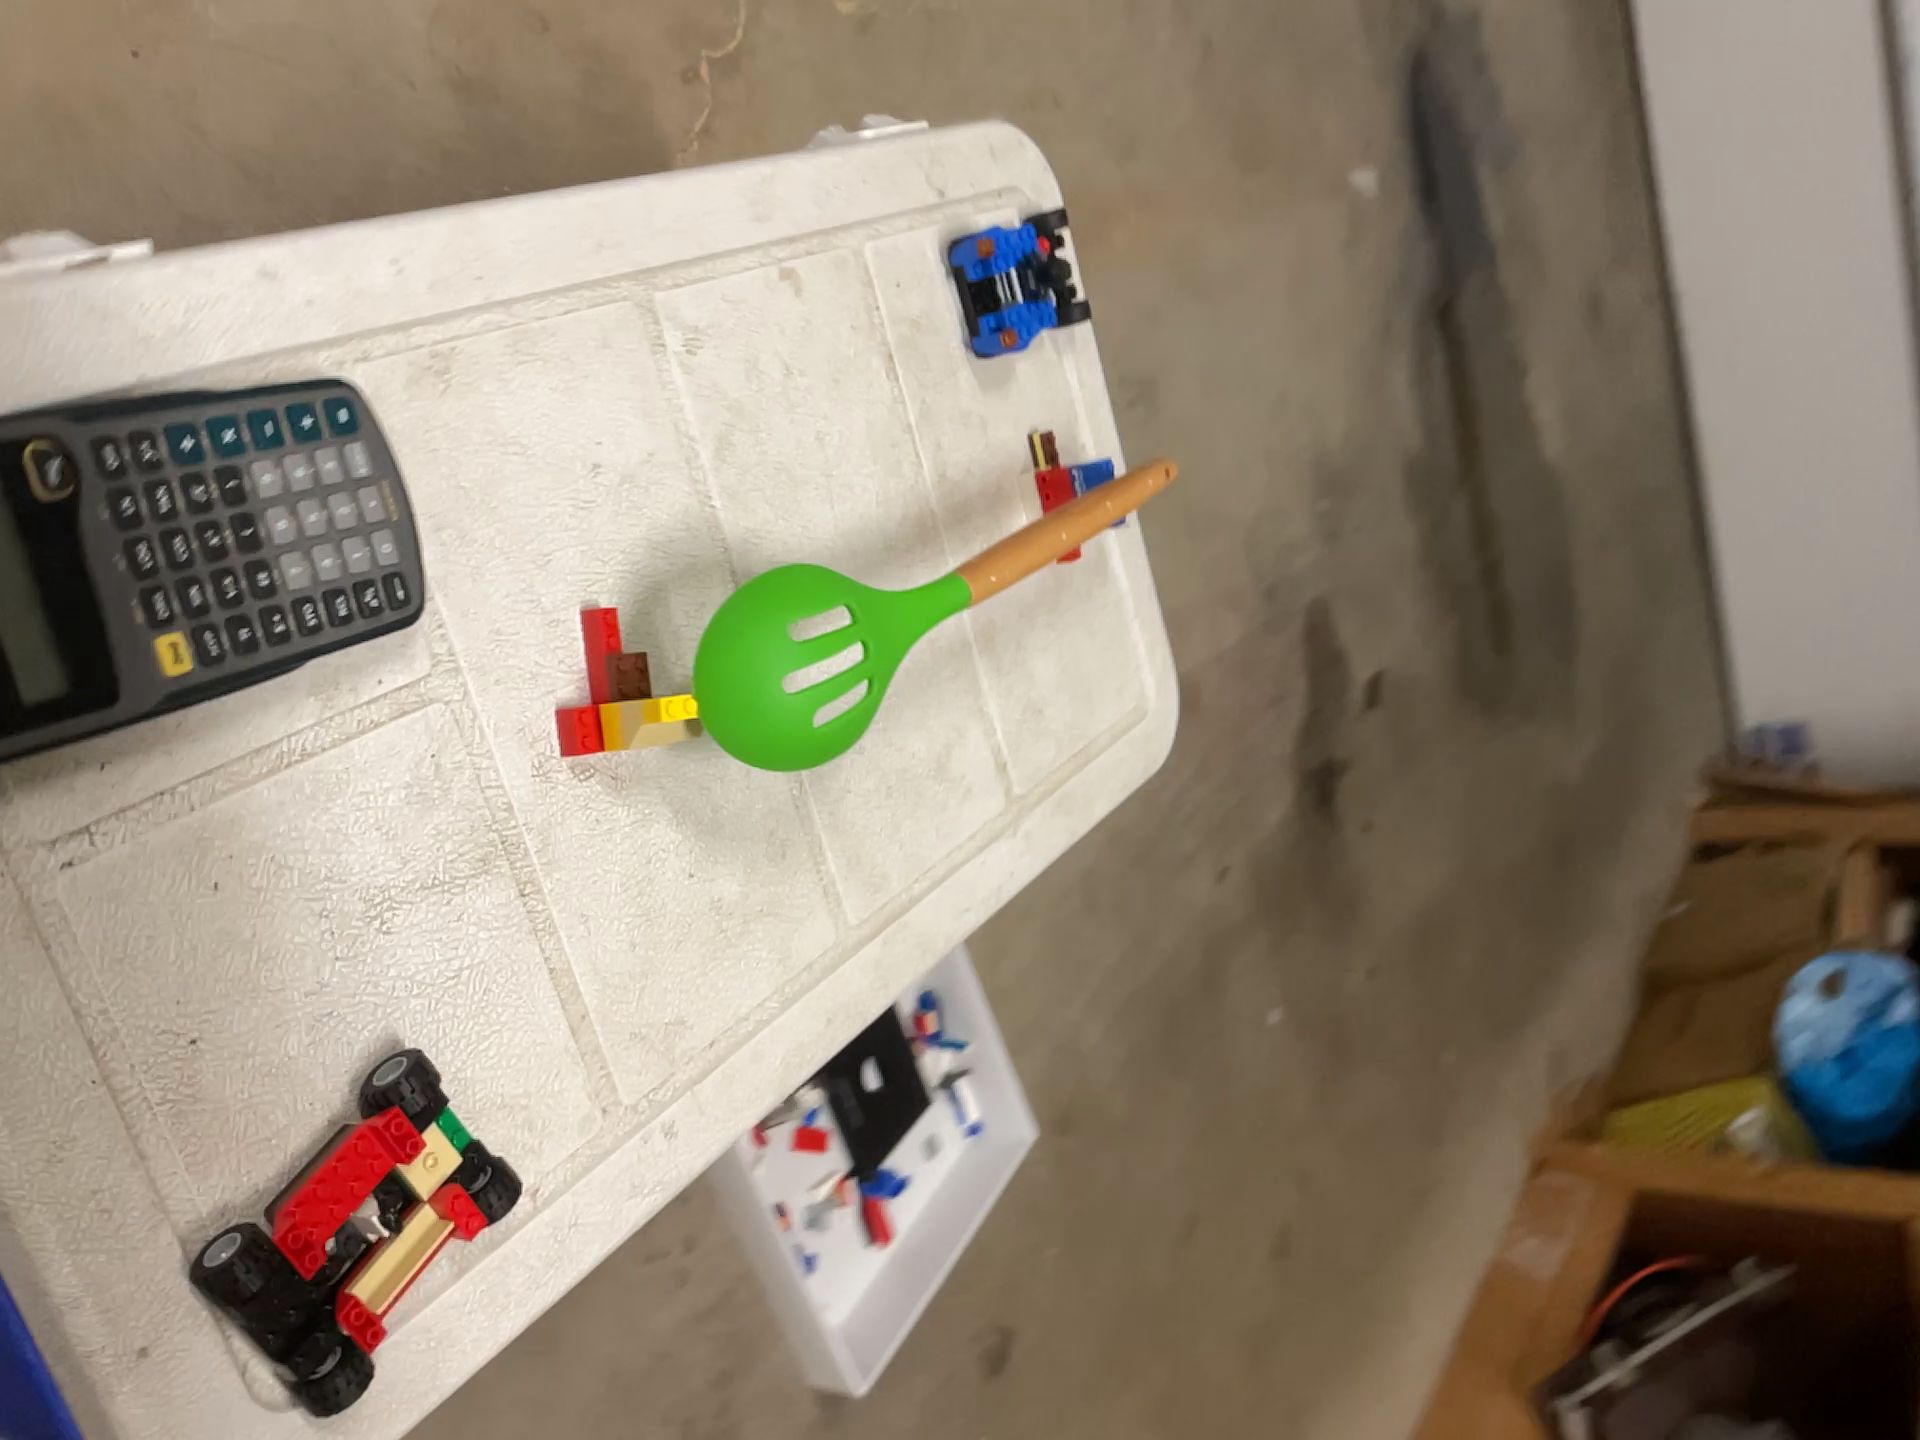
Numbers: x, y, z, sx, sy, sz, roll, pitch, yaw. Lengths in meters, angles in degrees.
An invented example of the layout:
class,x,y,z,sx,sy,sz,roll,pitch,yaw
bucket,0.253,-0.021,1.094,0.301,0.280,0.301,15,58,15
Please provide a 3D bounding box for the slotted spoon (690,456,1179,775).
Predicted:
class,x,y,z,sx,sy,sz,roll,pitch,yaw
slotted spoon,0.011,-0.061,0.628,0.314,0.031,0.070,-34,113,-49
